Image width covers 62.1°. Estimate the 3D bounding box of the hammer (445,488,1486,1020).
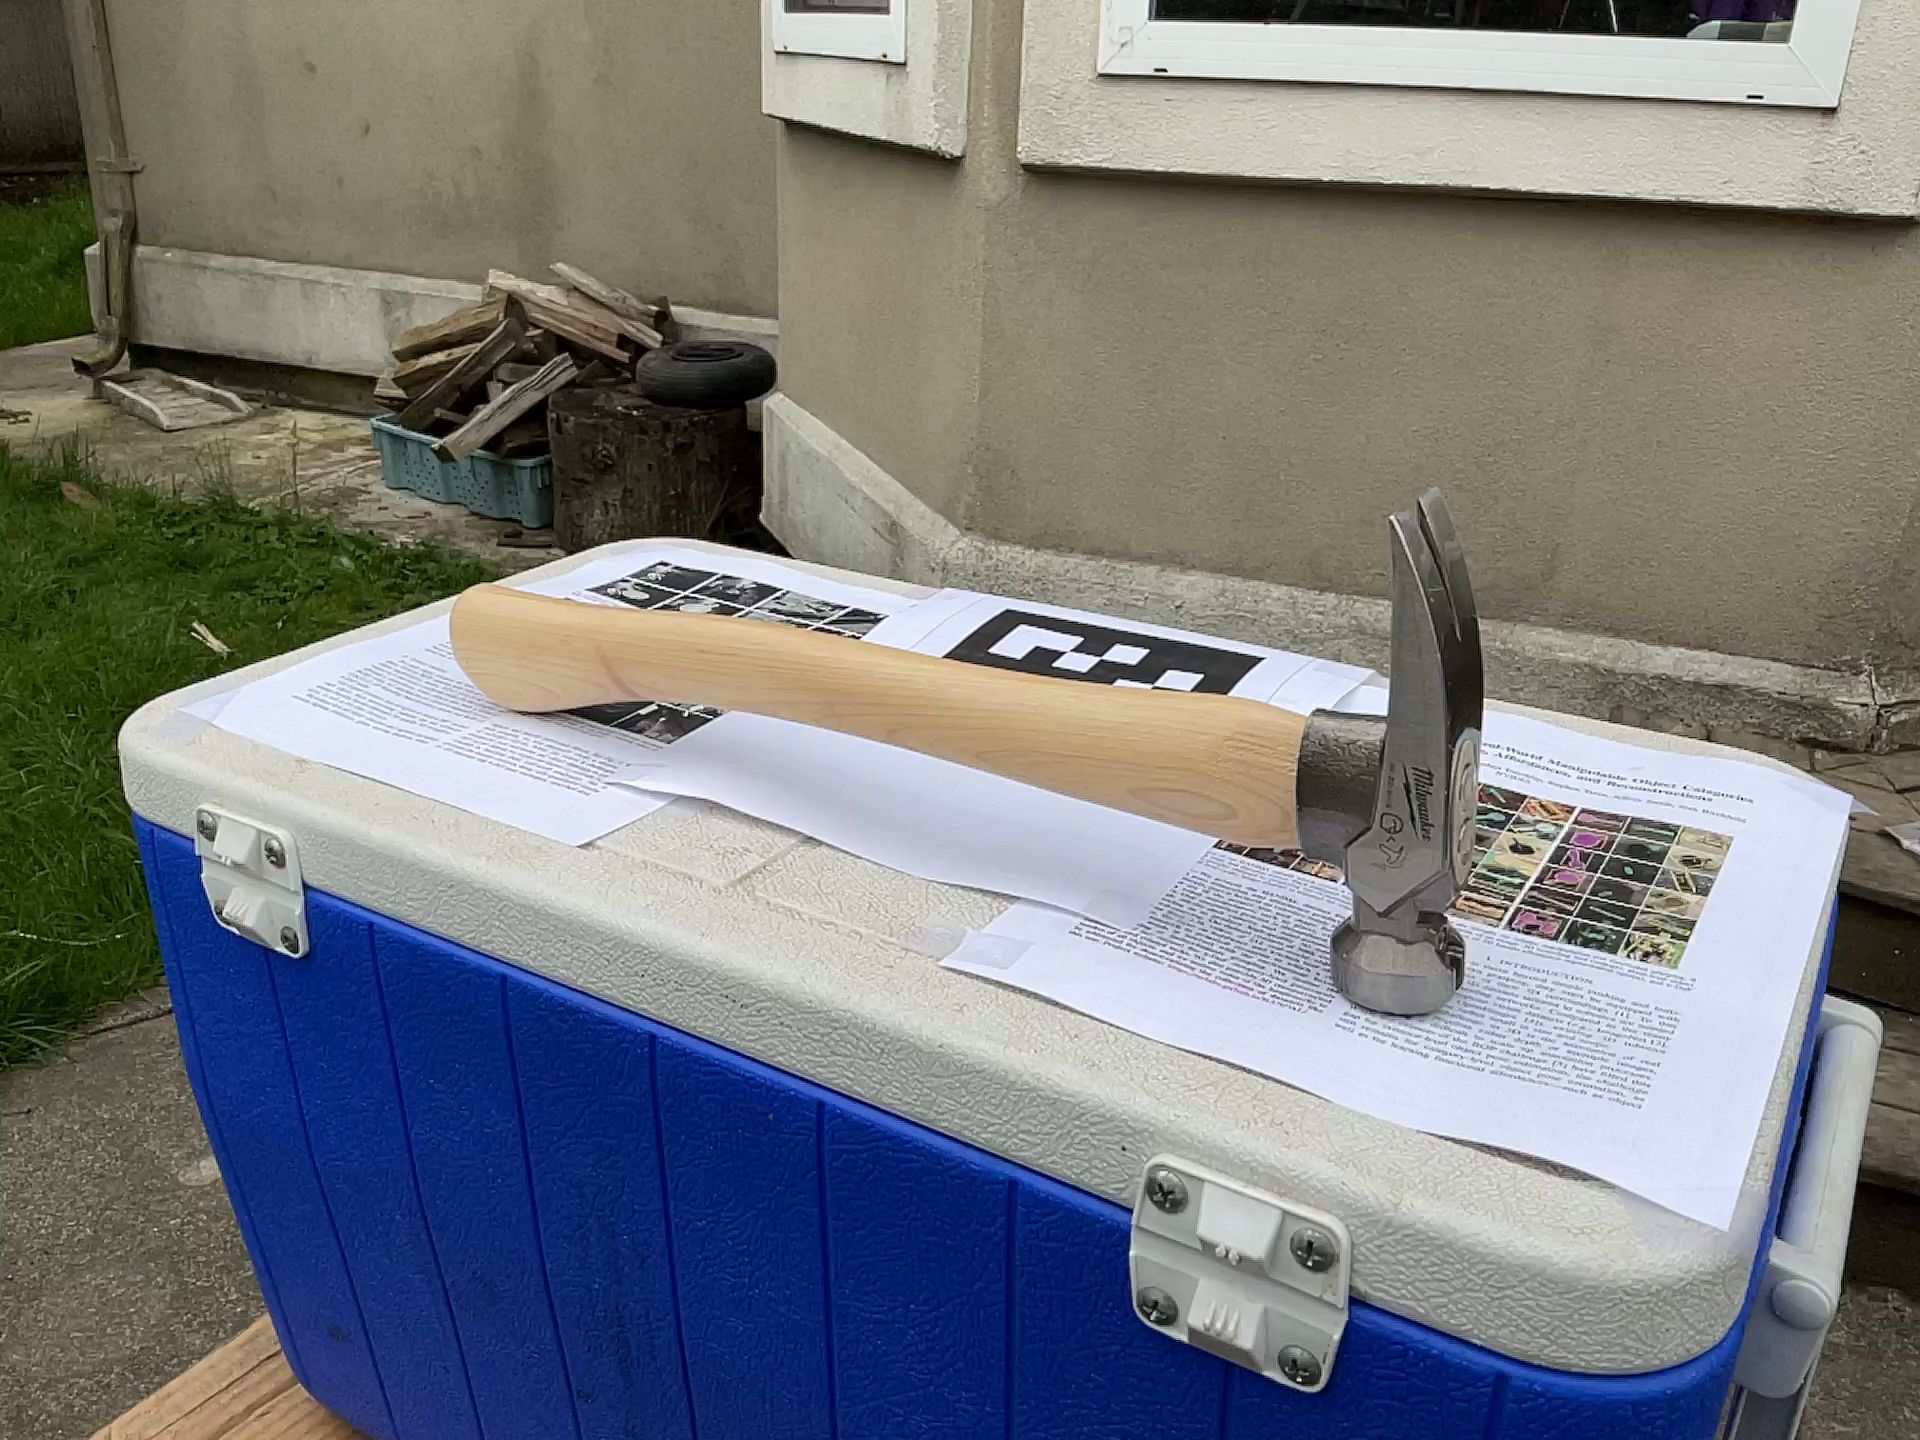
[{"bbox_3d":[-0.032,-0.016,0.540,0.411,0.146,0.038,10,25,33],"label":"hammer"}]
